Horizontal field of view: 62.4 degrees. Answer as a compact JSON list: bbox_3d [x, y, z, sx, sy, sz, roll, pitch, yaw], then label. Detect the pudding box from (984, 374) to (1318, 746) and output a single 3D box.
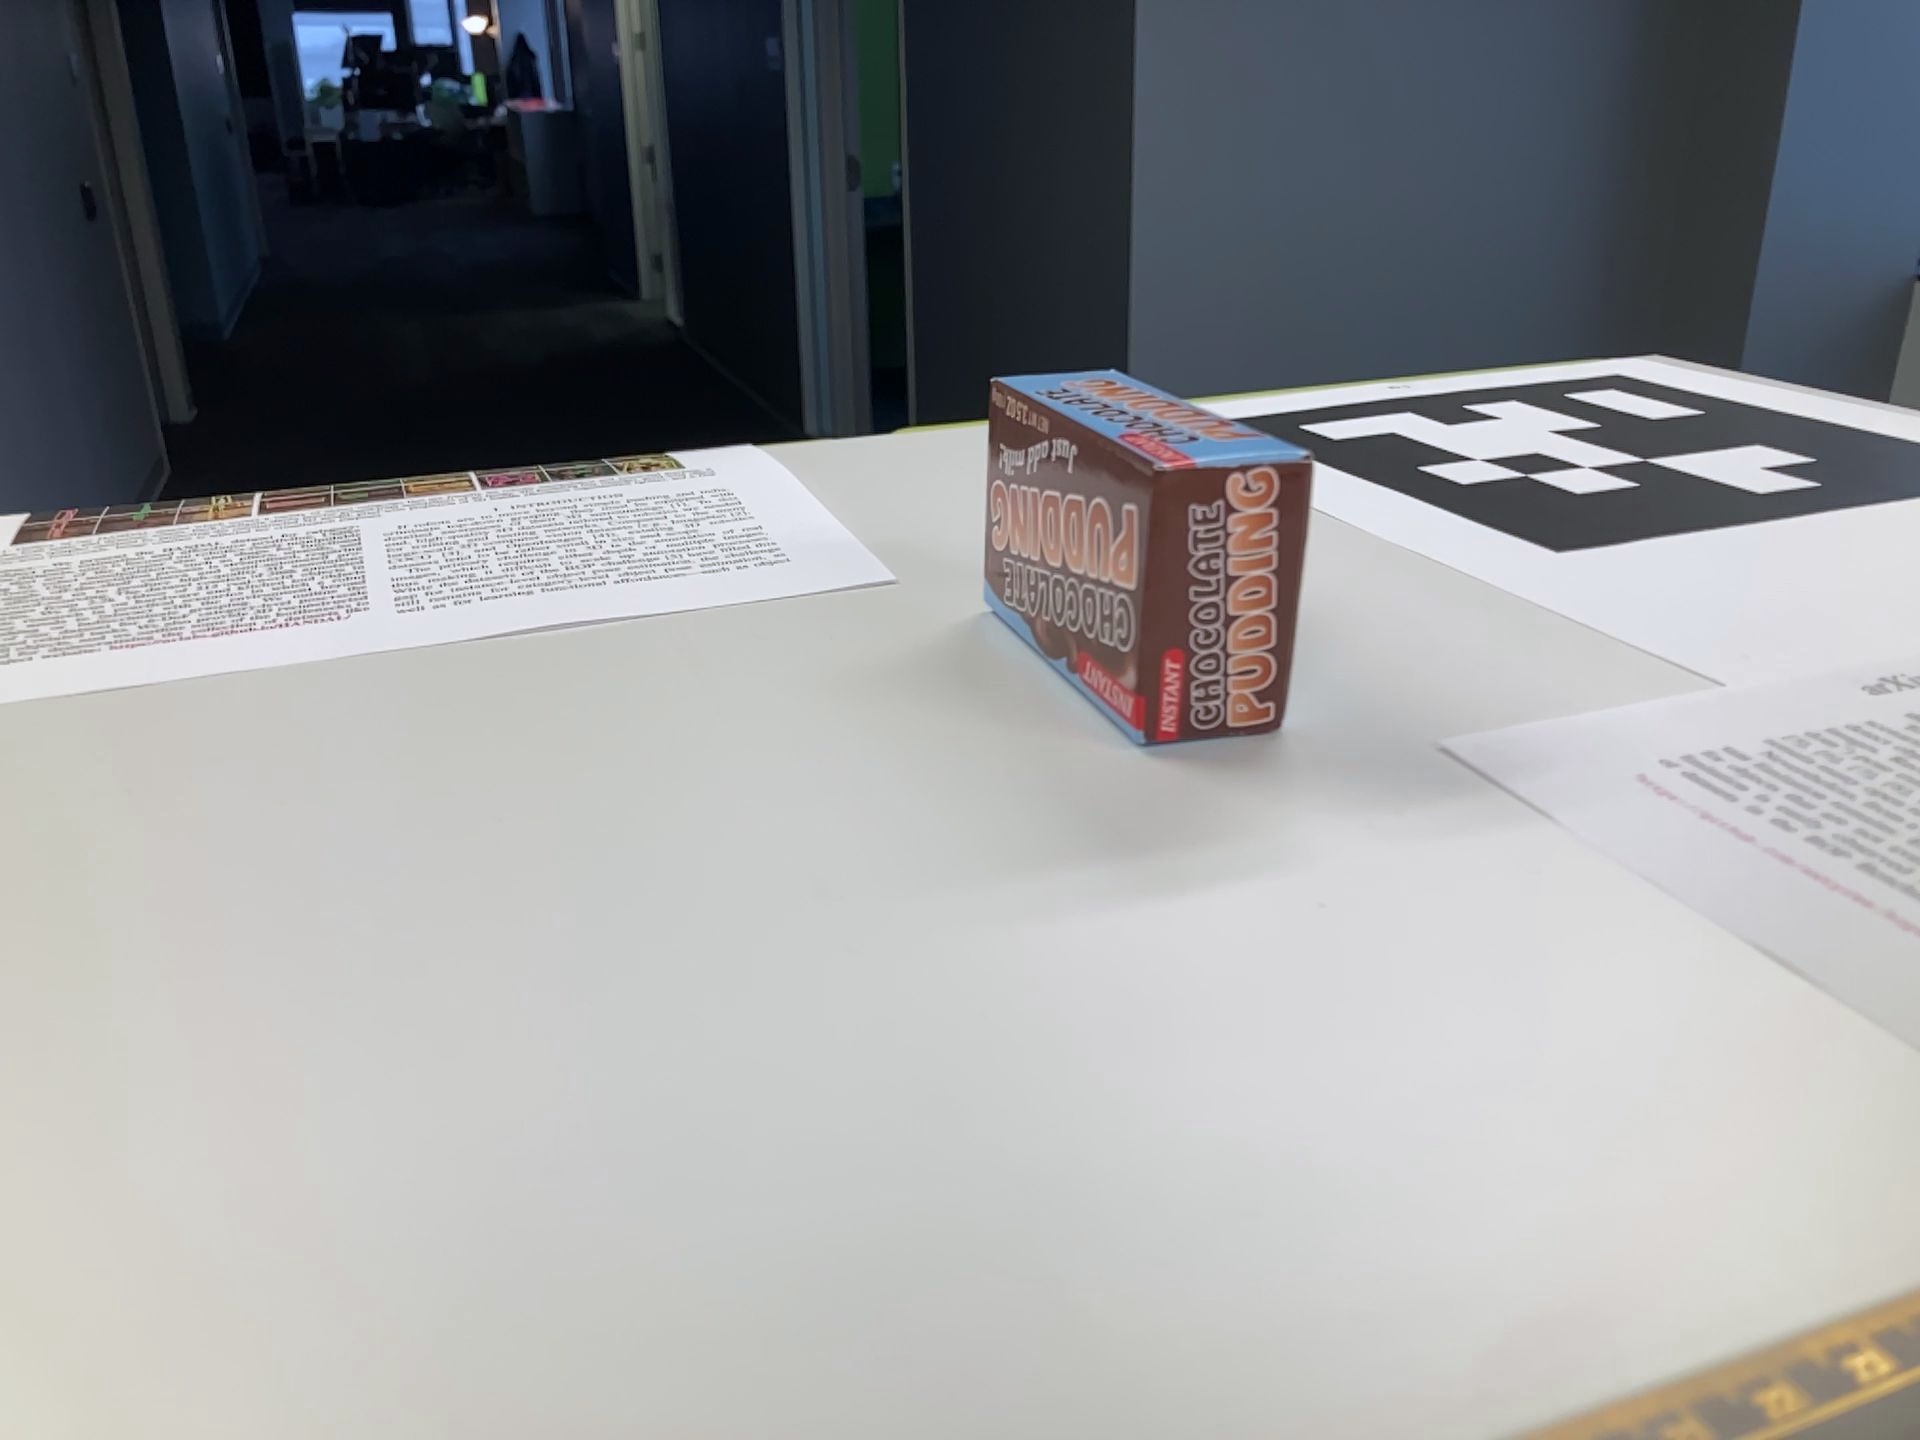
[{"bbox_3d":[0.031,-0.033,0.294,0.030,0.049,0.083,-6,23,-17],"label":"pudding box"}]
